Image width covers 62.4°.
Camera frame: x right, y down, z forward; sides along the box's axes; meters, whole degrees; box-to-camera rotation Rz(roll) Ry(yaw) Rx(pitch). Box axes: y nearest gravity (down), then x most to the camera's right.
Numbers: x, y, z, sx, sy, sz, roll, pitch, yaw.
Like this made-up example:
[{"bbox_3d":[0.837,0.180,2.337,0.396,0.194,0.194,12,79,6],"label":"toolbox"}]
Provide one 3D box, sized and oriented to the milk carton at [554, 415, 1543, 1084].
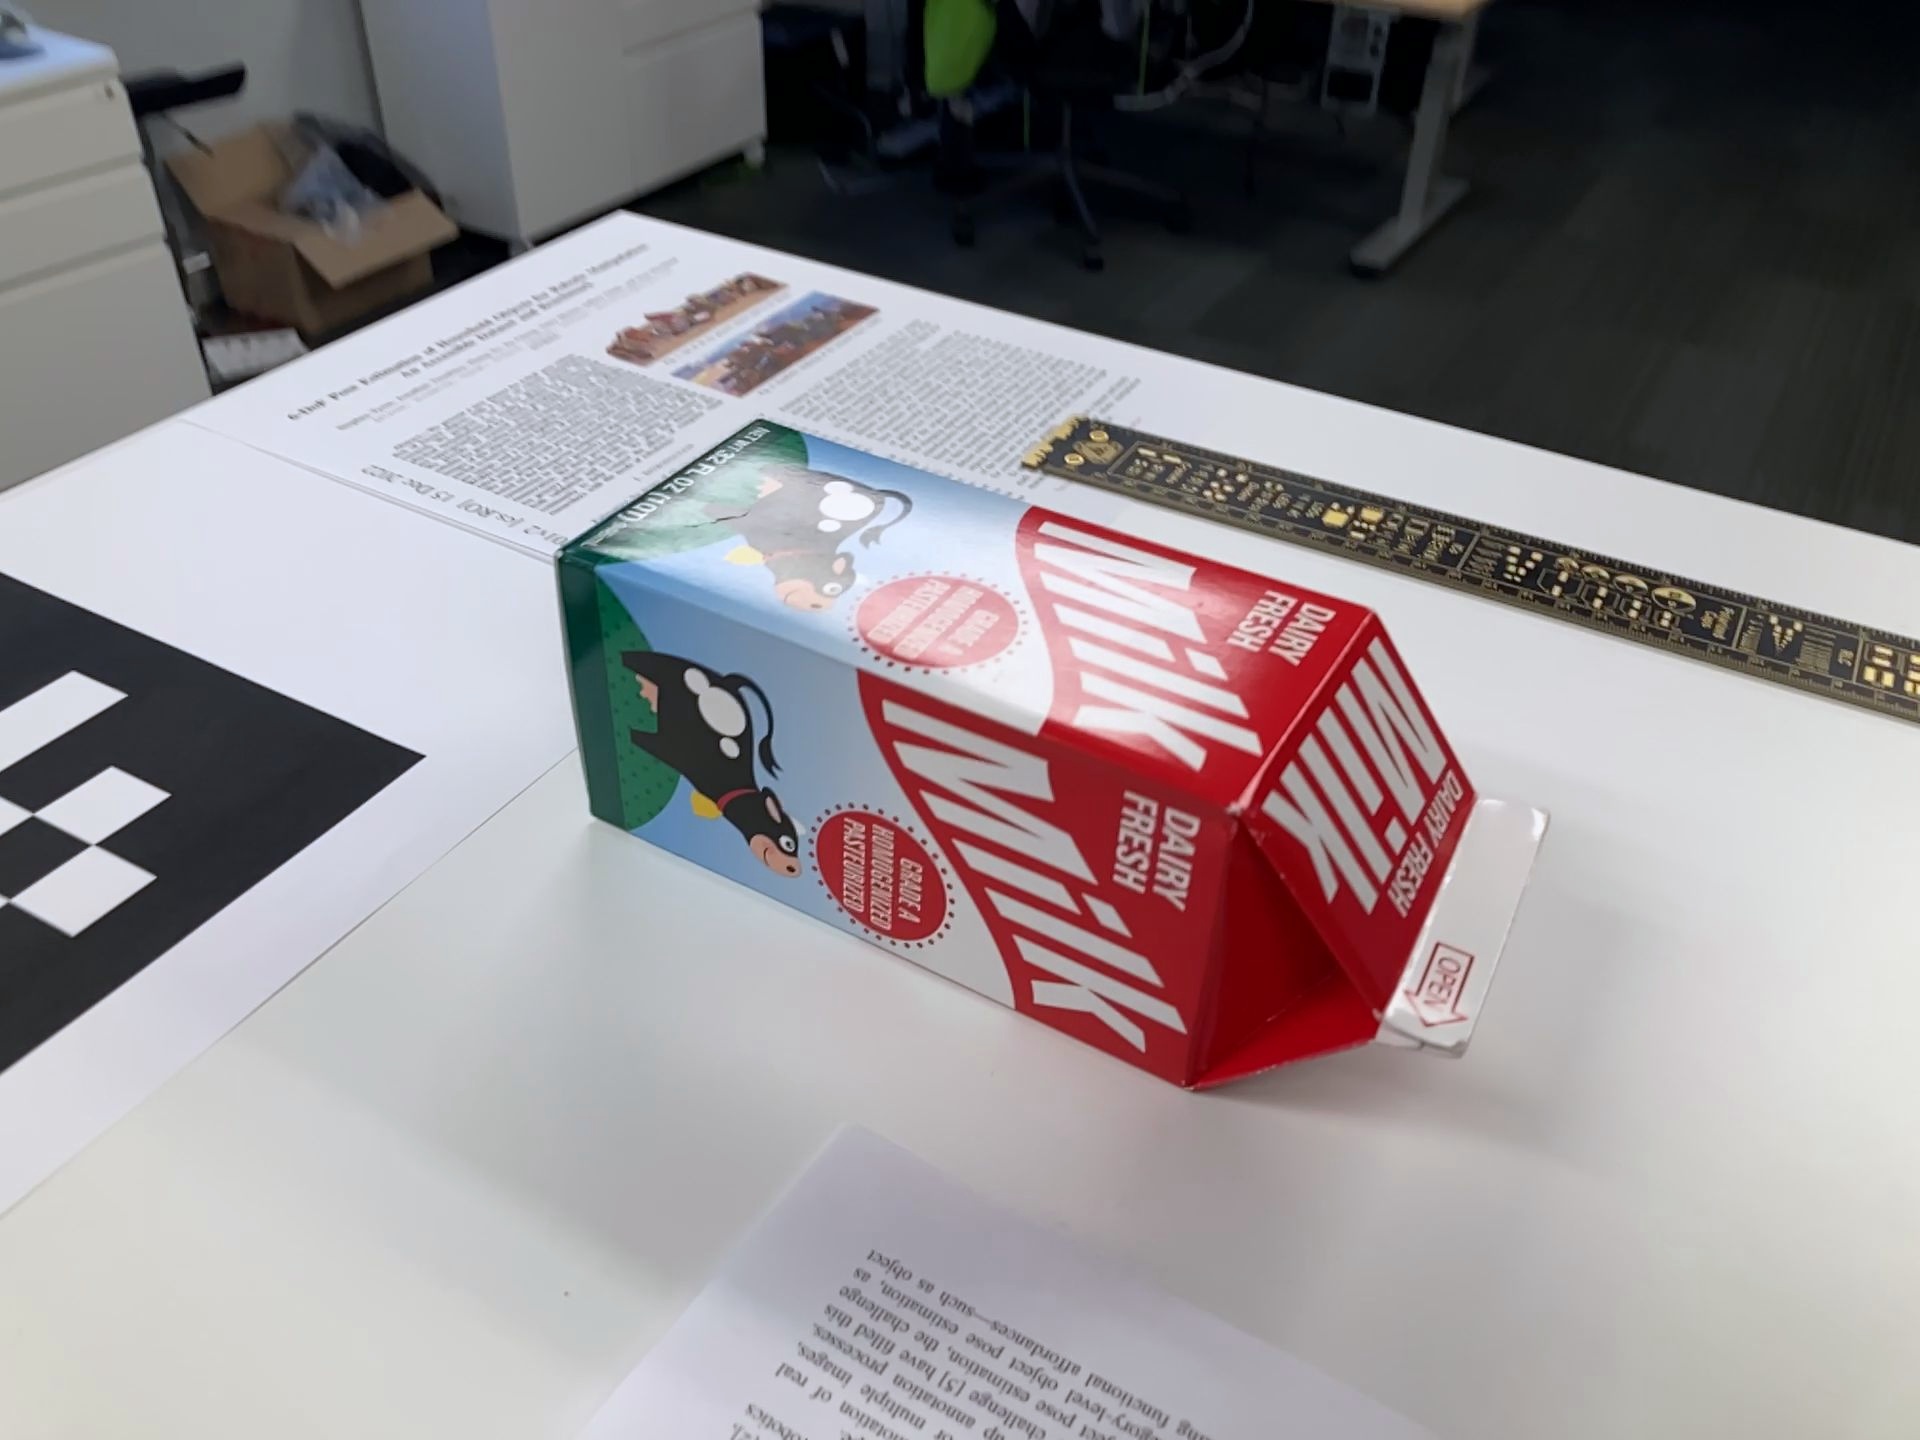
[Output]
[{"bbox_3d":[0.016,0.006,0.324,0.190,0.073,0.072,21,40,22],"label":"milk carton"}]
